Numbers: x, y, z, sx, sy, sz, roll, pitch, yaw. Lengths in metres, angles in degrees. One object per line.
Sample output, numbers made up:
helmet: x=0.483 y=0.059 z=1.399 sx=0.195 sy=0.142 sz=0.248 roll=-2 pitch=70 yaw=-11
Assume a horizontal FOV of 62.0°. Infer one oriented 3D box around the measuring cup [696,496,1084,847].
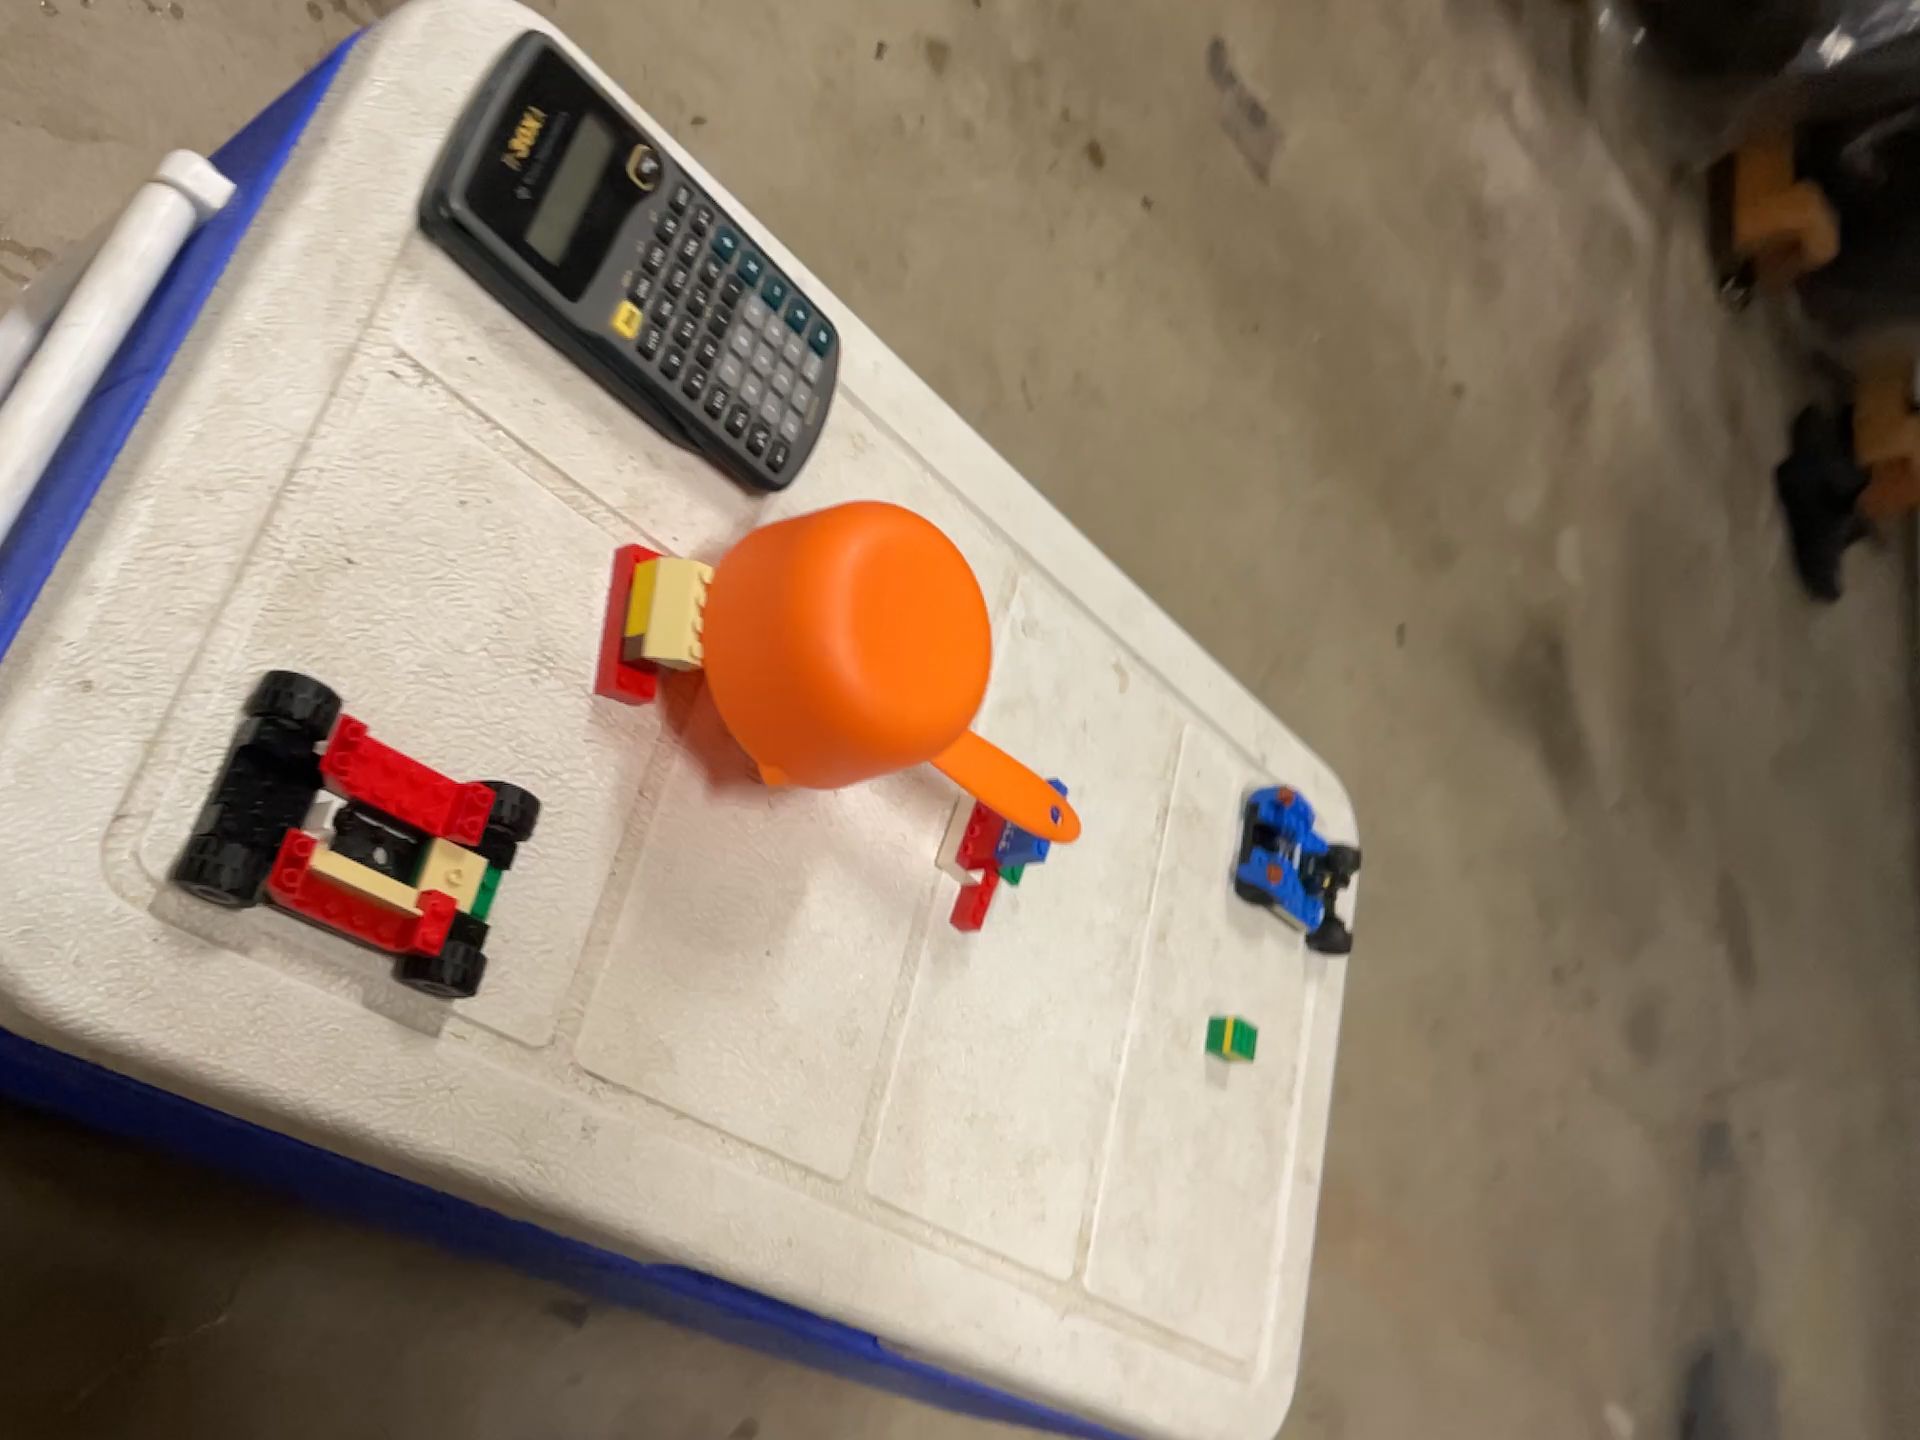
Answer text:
measuring cup: x=-0.002 y=-0.004 z=0.513 sx=0.173 sy=0.052 sz=0.095 roll=35 pitch=58 yaw=-32
